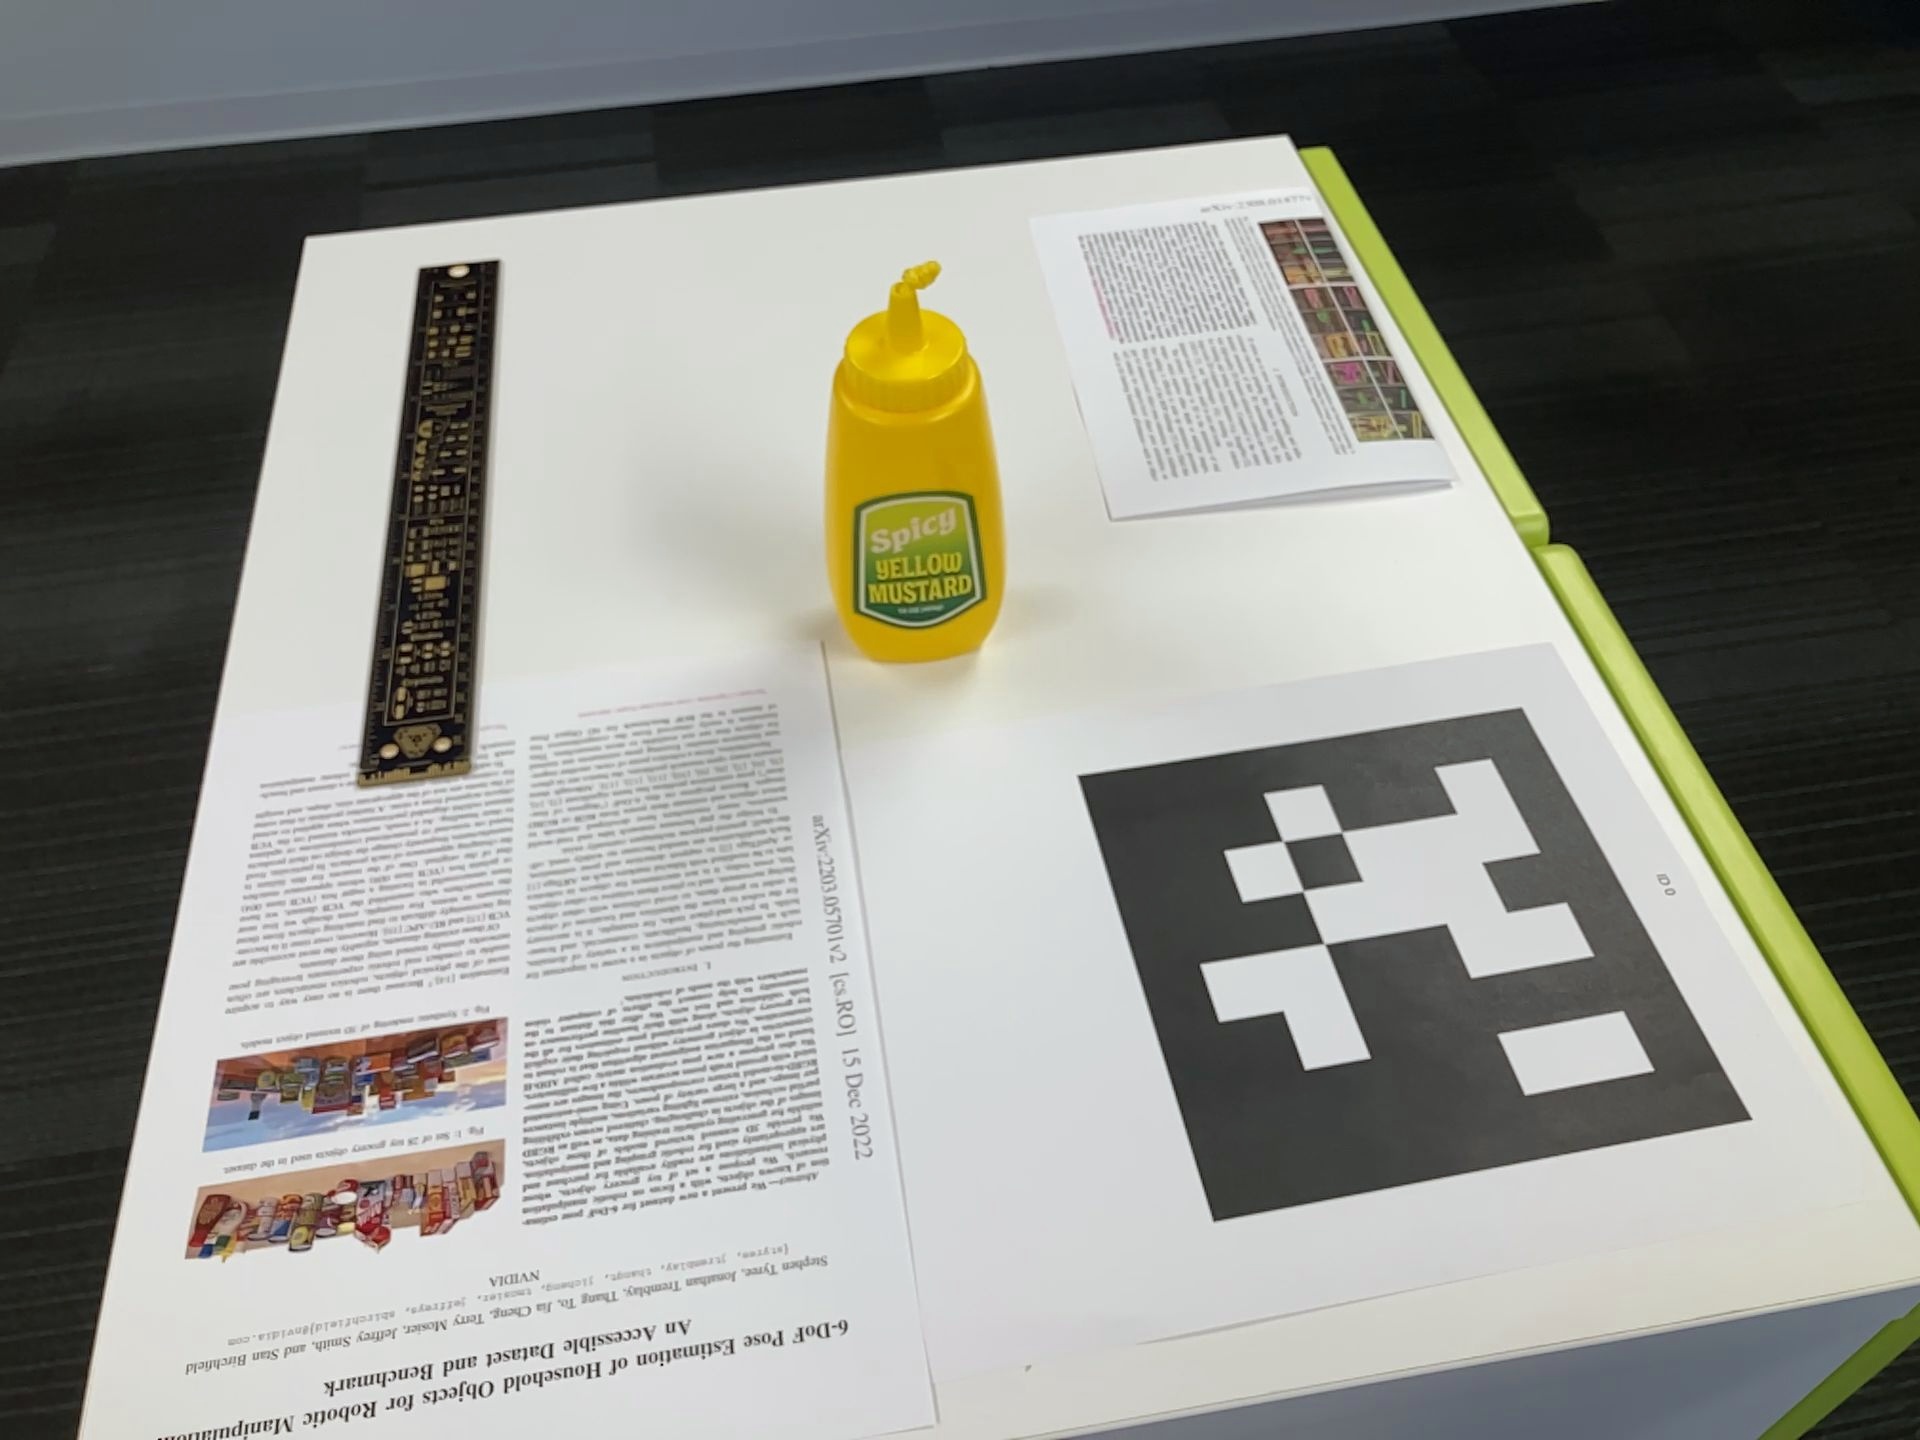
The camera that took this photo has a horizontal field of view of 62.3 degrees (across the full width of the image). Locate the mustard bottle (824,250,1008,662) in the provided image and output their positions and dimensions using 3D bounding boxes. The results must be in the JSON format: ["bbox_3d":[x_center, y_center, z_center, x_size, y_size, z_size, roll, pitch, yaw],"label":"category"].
[{"bbox_3d":[-0.017,-0.087,0.539,0.065,0.160,0.049,-6,51,-2],"label":"mustard bottle"}]
